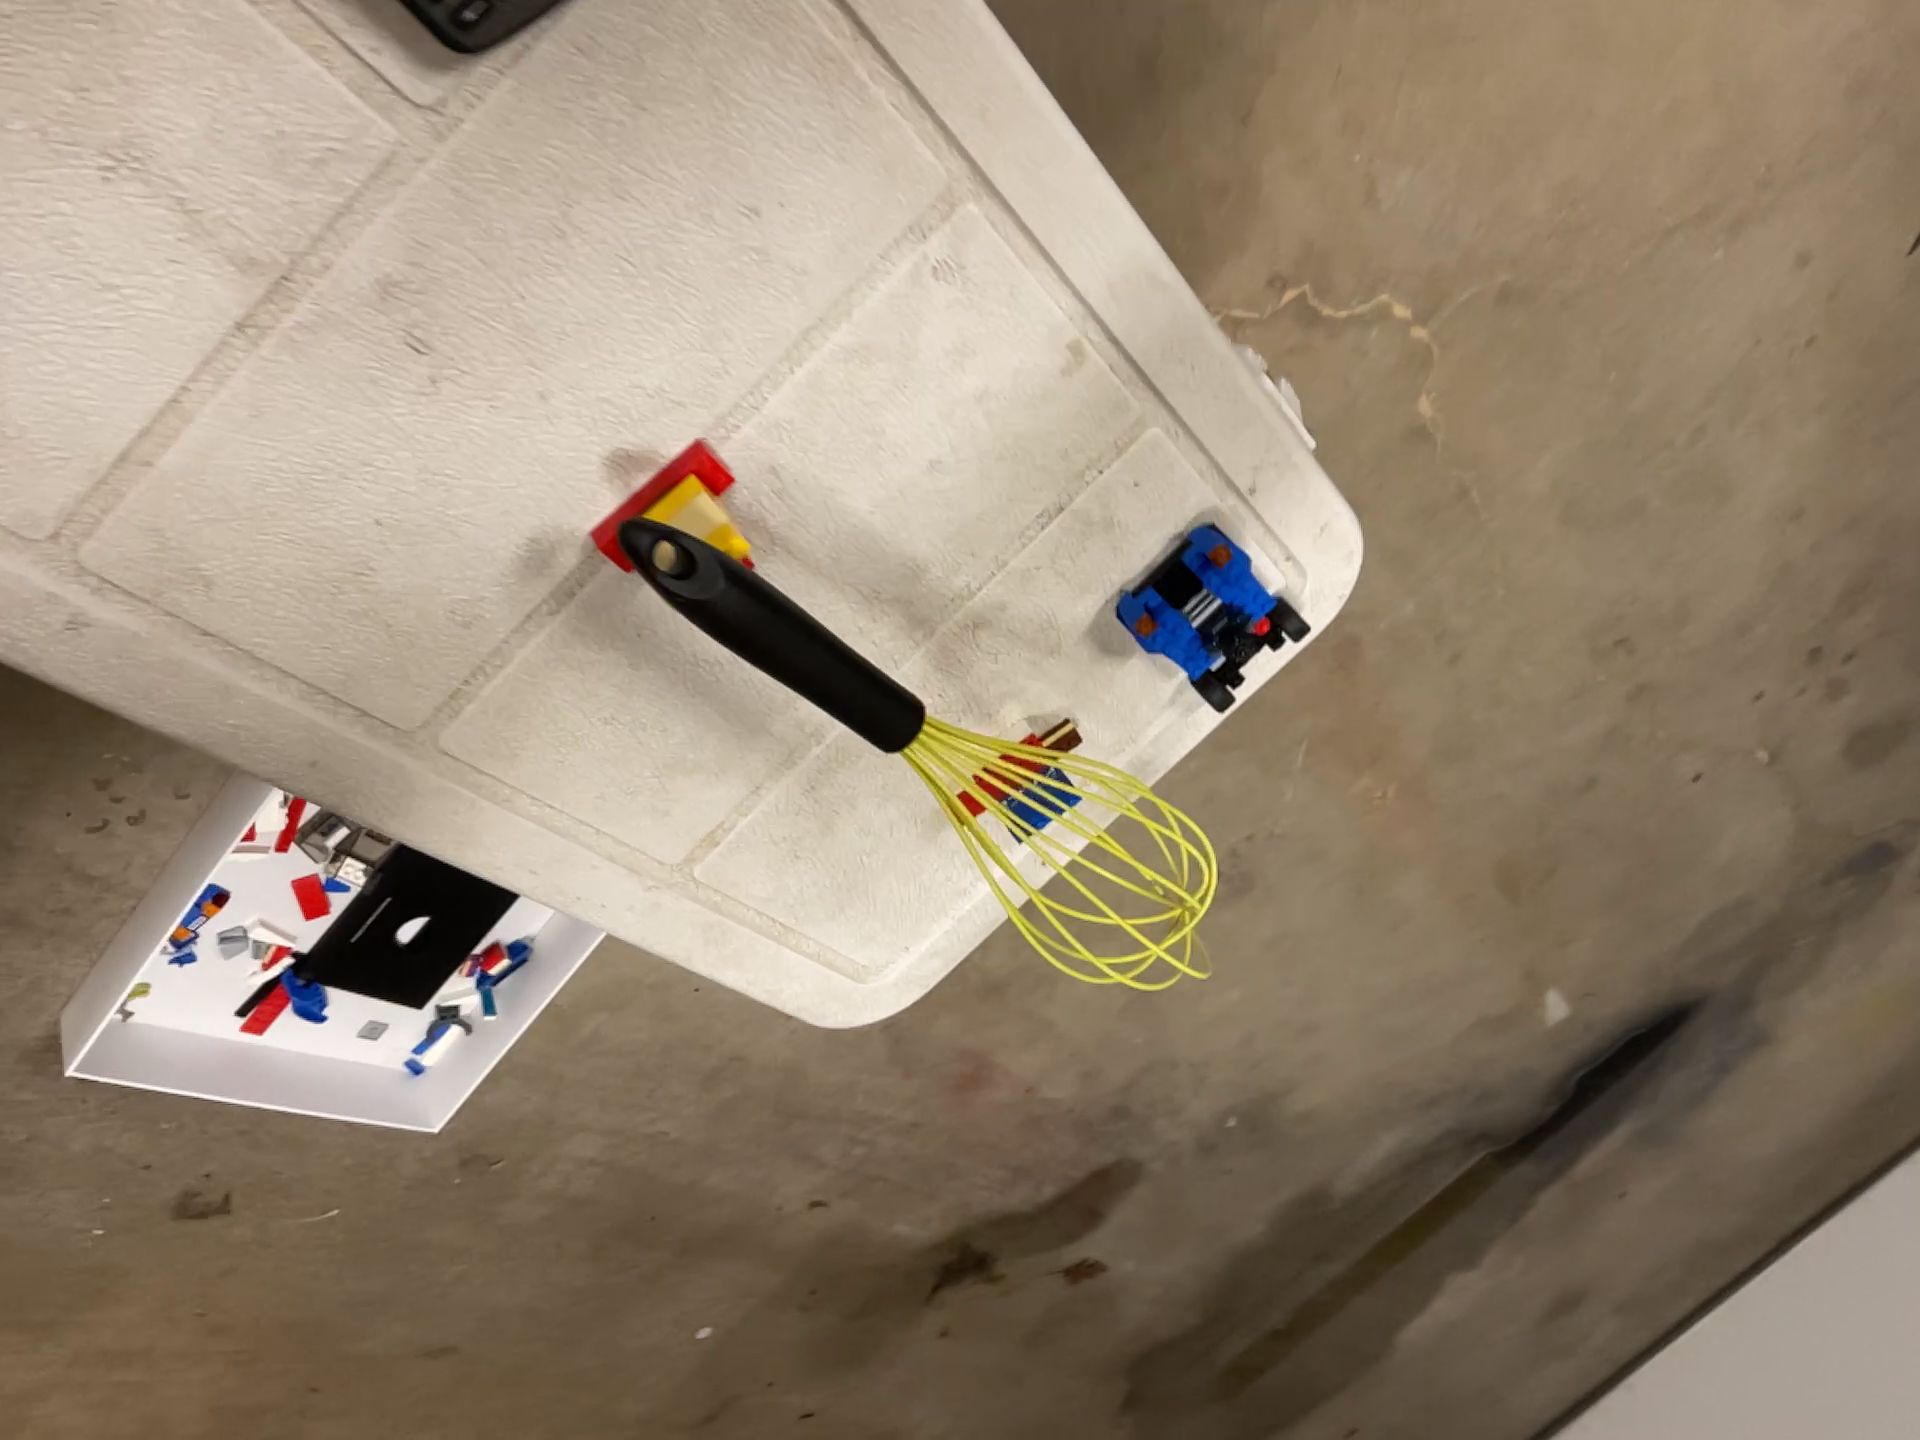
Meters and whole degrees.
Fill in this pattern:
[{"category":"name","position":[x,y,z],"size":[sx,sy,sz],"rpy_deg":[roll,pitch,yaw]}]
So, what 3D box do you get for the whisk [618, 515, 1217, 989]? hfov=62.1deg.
[{"category":"whisk","position":[-0.003,0.016,0.566],"size":[0.311,0.067,0.080],"rpy_deg":[37,57,-38]}]
